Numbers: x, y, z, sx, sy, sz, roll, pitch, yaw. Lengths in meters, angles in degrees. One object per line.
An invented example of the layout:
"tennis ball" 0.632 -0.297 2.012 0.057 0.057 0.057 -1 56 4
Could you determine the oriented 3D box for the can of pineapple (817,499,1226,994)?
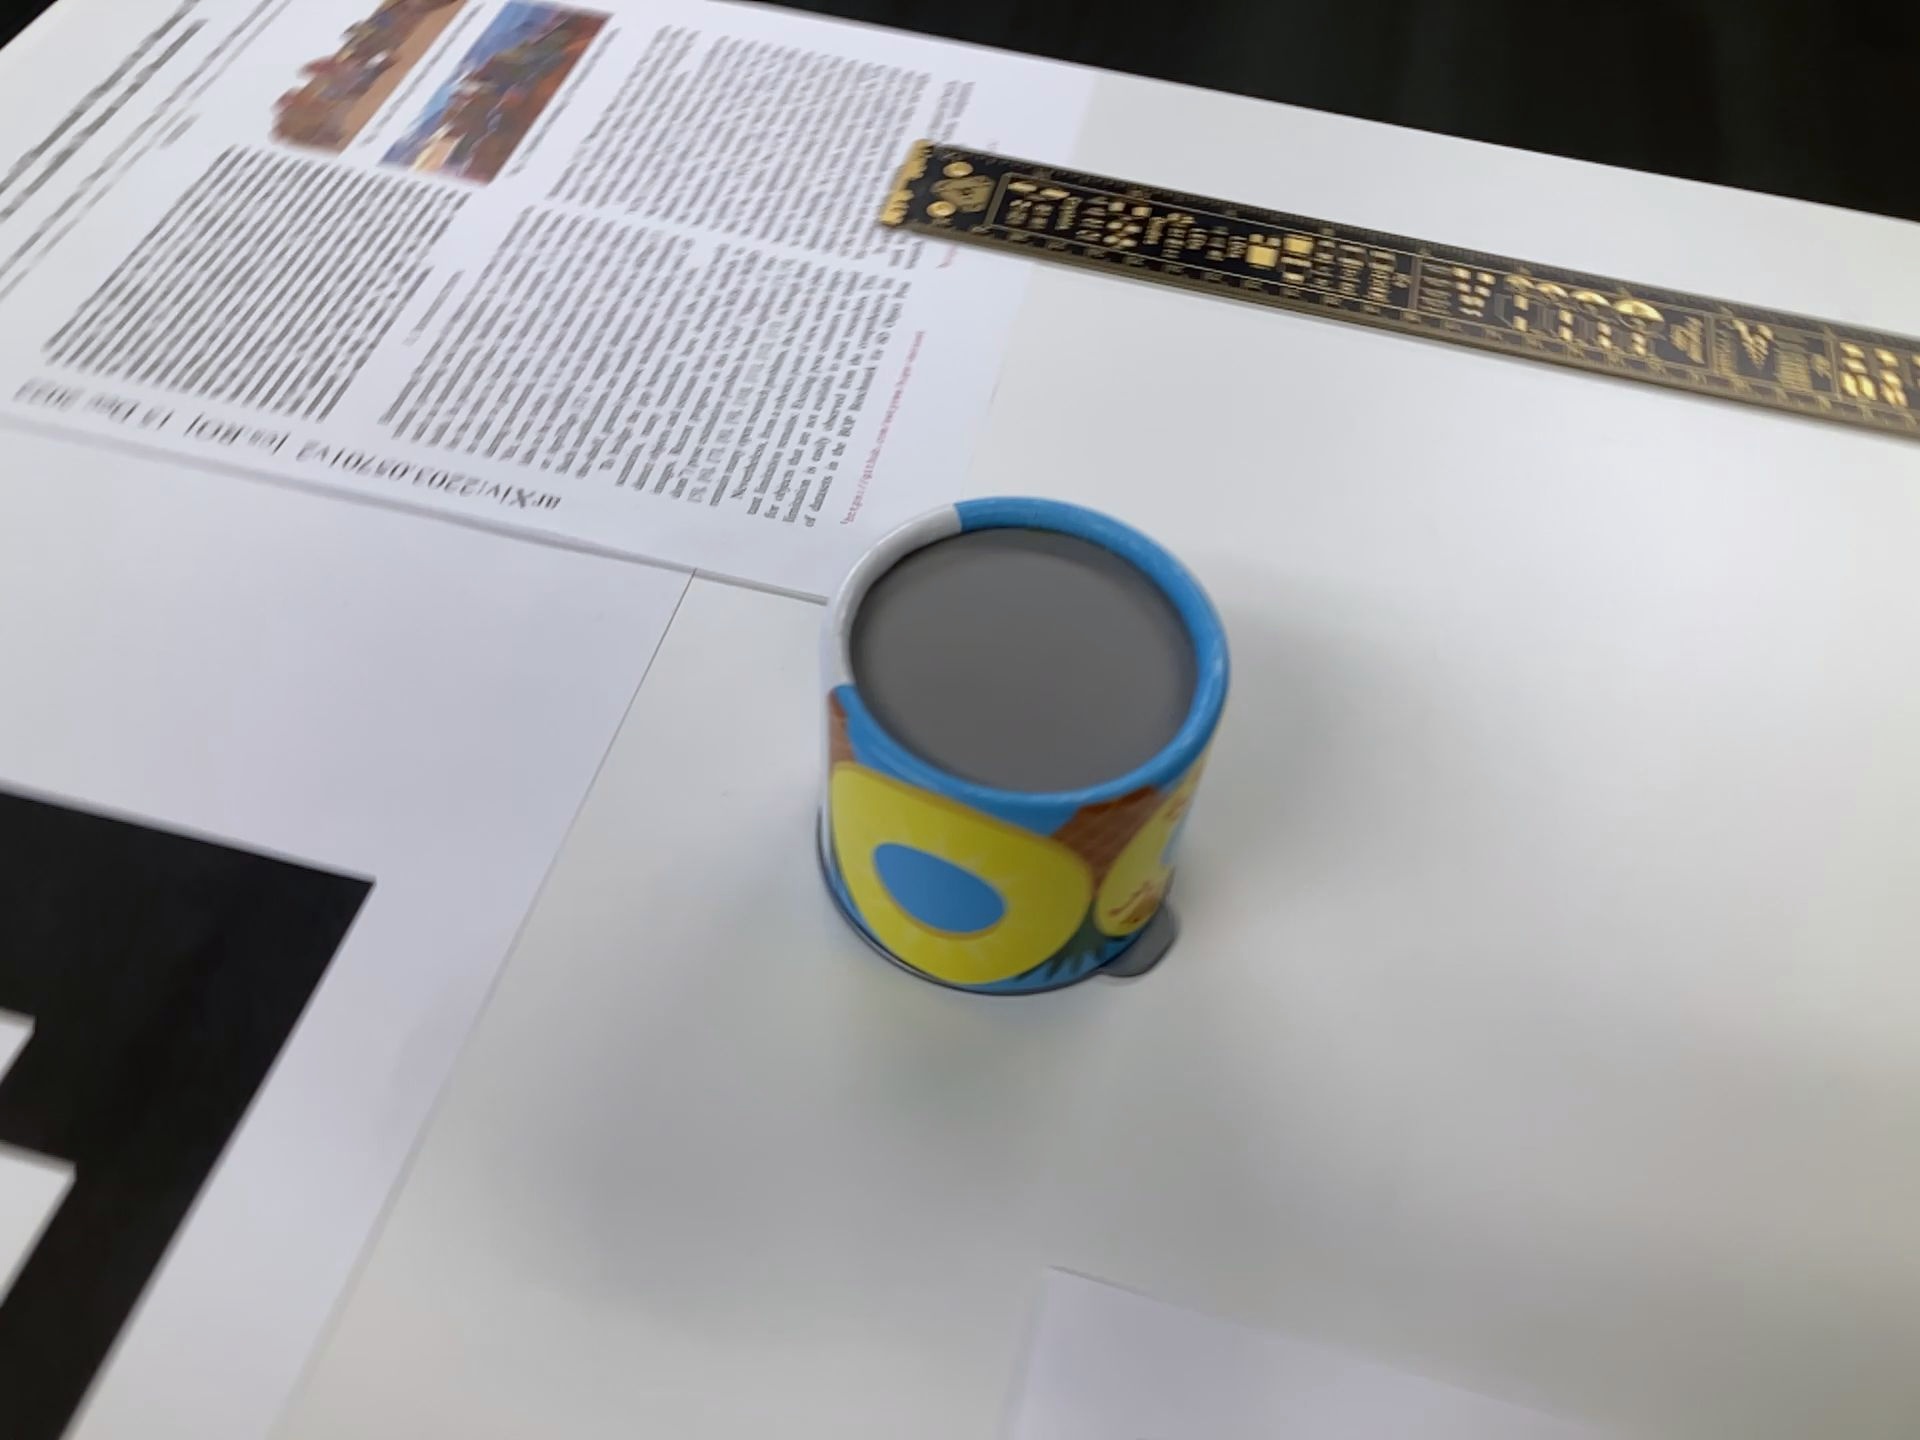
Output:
"can of pineapple" 0.010 0.005 0.273 0.071 0.058 0.071 2 53 -3
